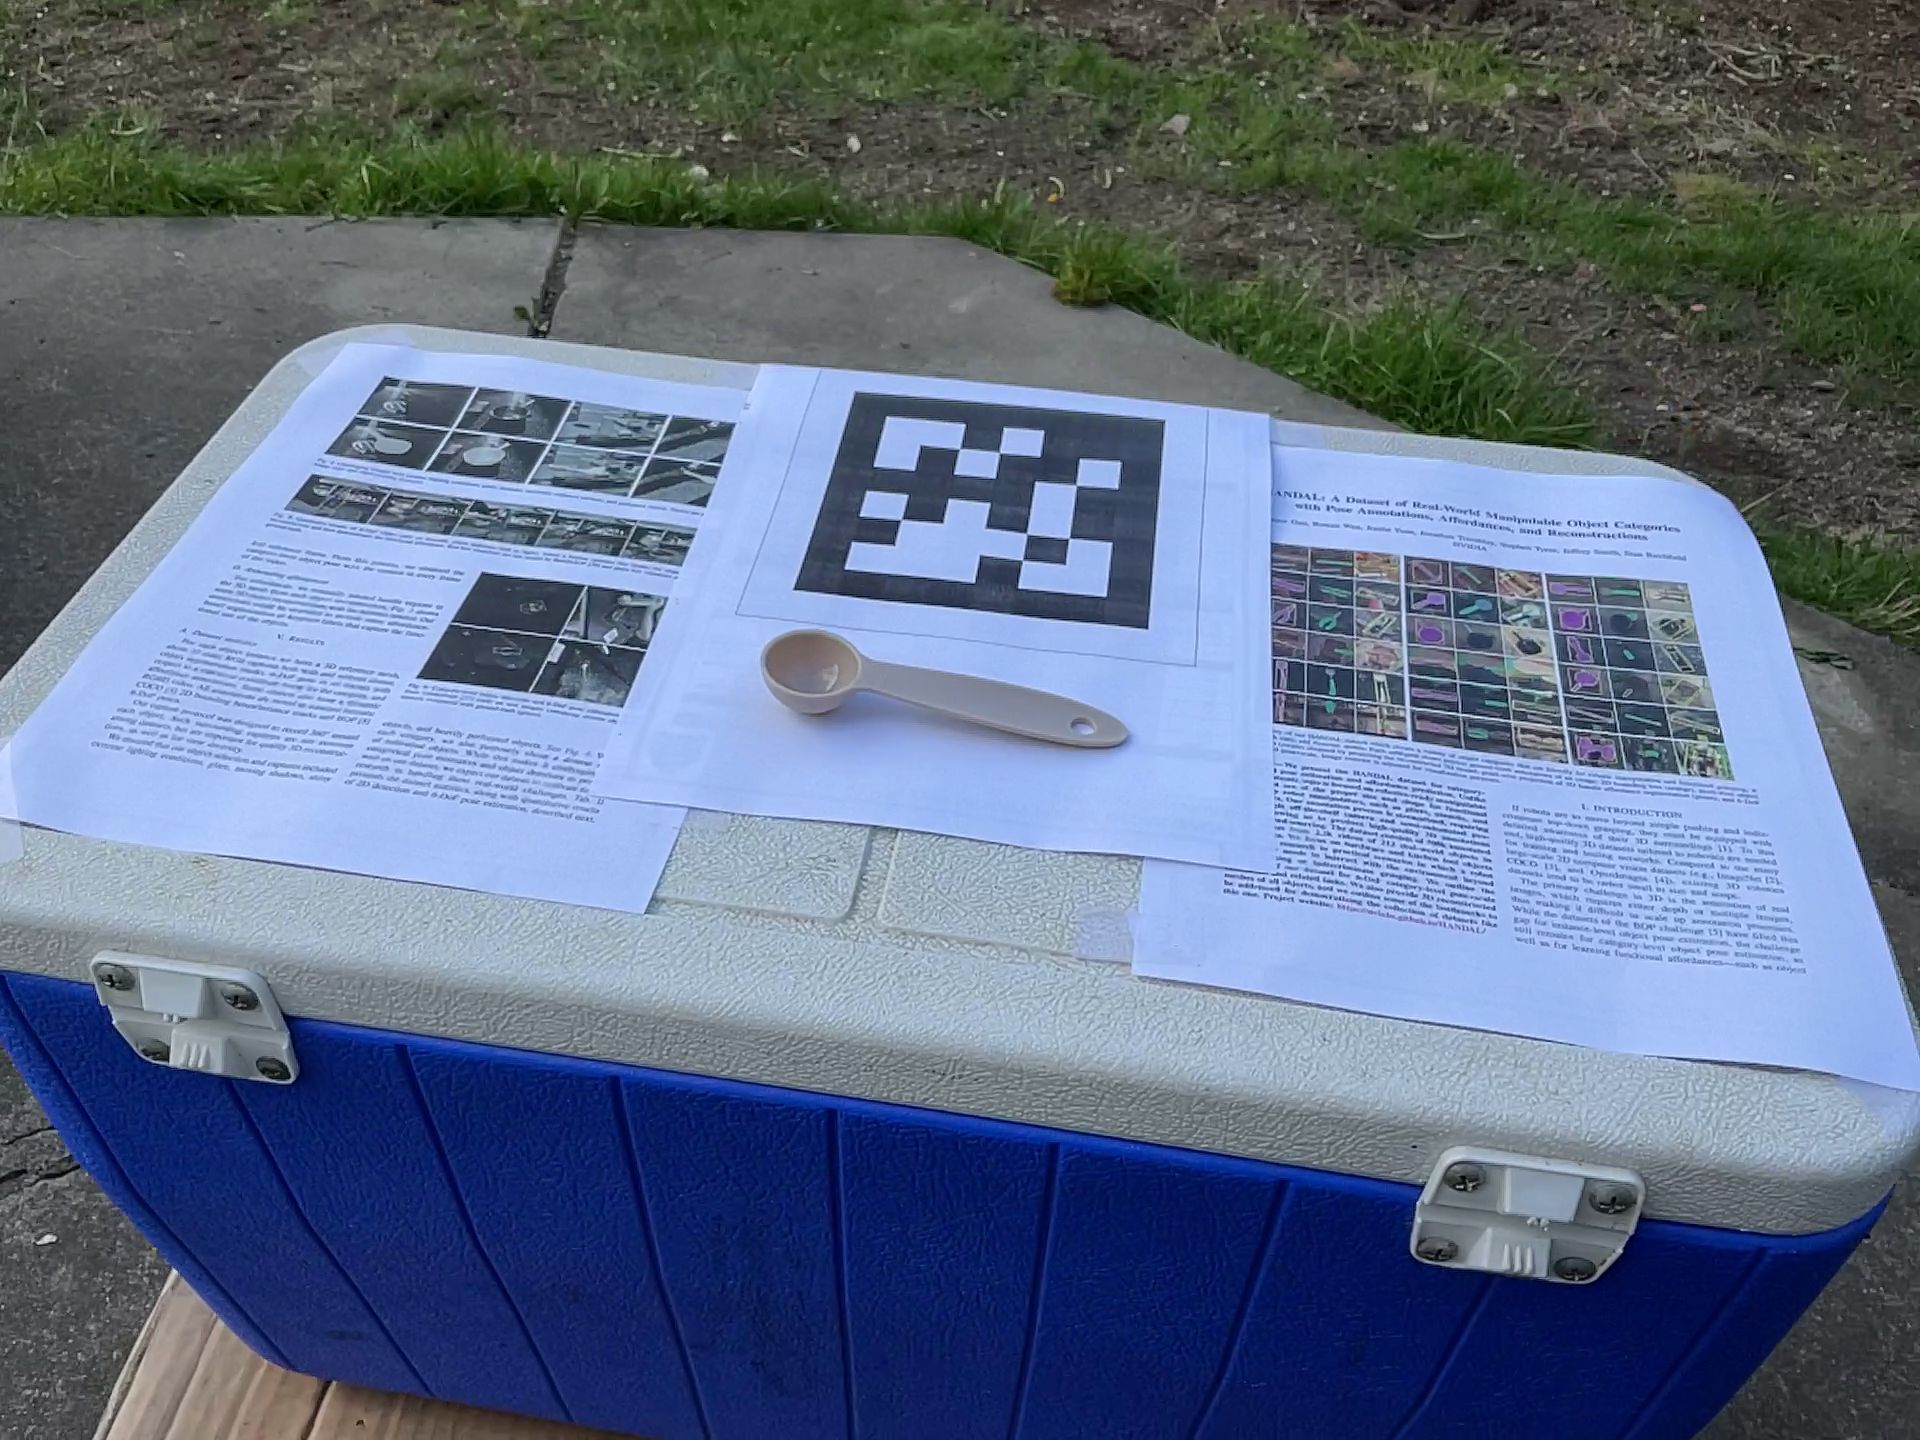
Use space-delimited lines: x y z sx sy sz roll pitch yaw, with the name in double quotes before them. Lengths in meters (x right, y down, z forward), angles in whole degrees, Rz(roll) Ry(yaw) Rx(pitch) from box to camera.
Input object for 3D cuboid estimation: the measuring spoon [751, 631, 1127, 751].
"measuring spoon" -0.008 -0.003 0.524 0.124 0.018 0.034 12 42 0
